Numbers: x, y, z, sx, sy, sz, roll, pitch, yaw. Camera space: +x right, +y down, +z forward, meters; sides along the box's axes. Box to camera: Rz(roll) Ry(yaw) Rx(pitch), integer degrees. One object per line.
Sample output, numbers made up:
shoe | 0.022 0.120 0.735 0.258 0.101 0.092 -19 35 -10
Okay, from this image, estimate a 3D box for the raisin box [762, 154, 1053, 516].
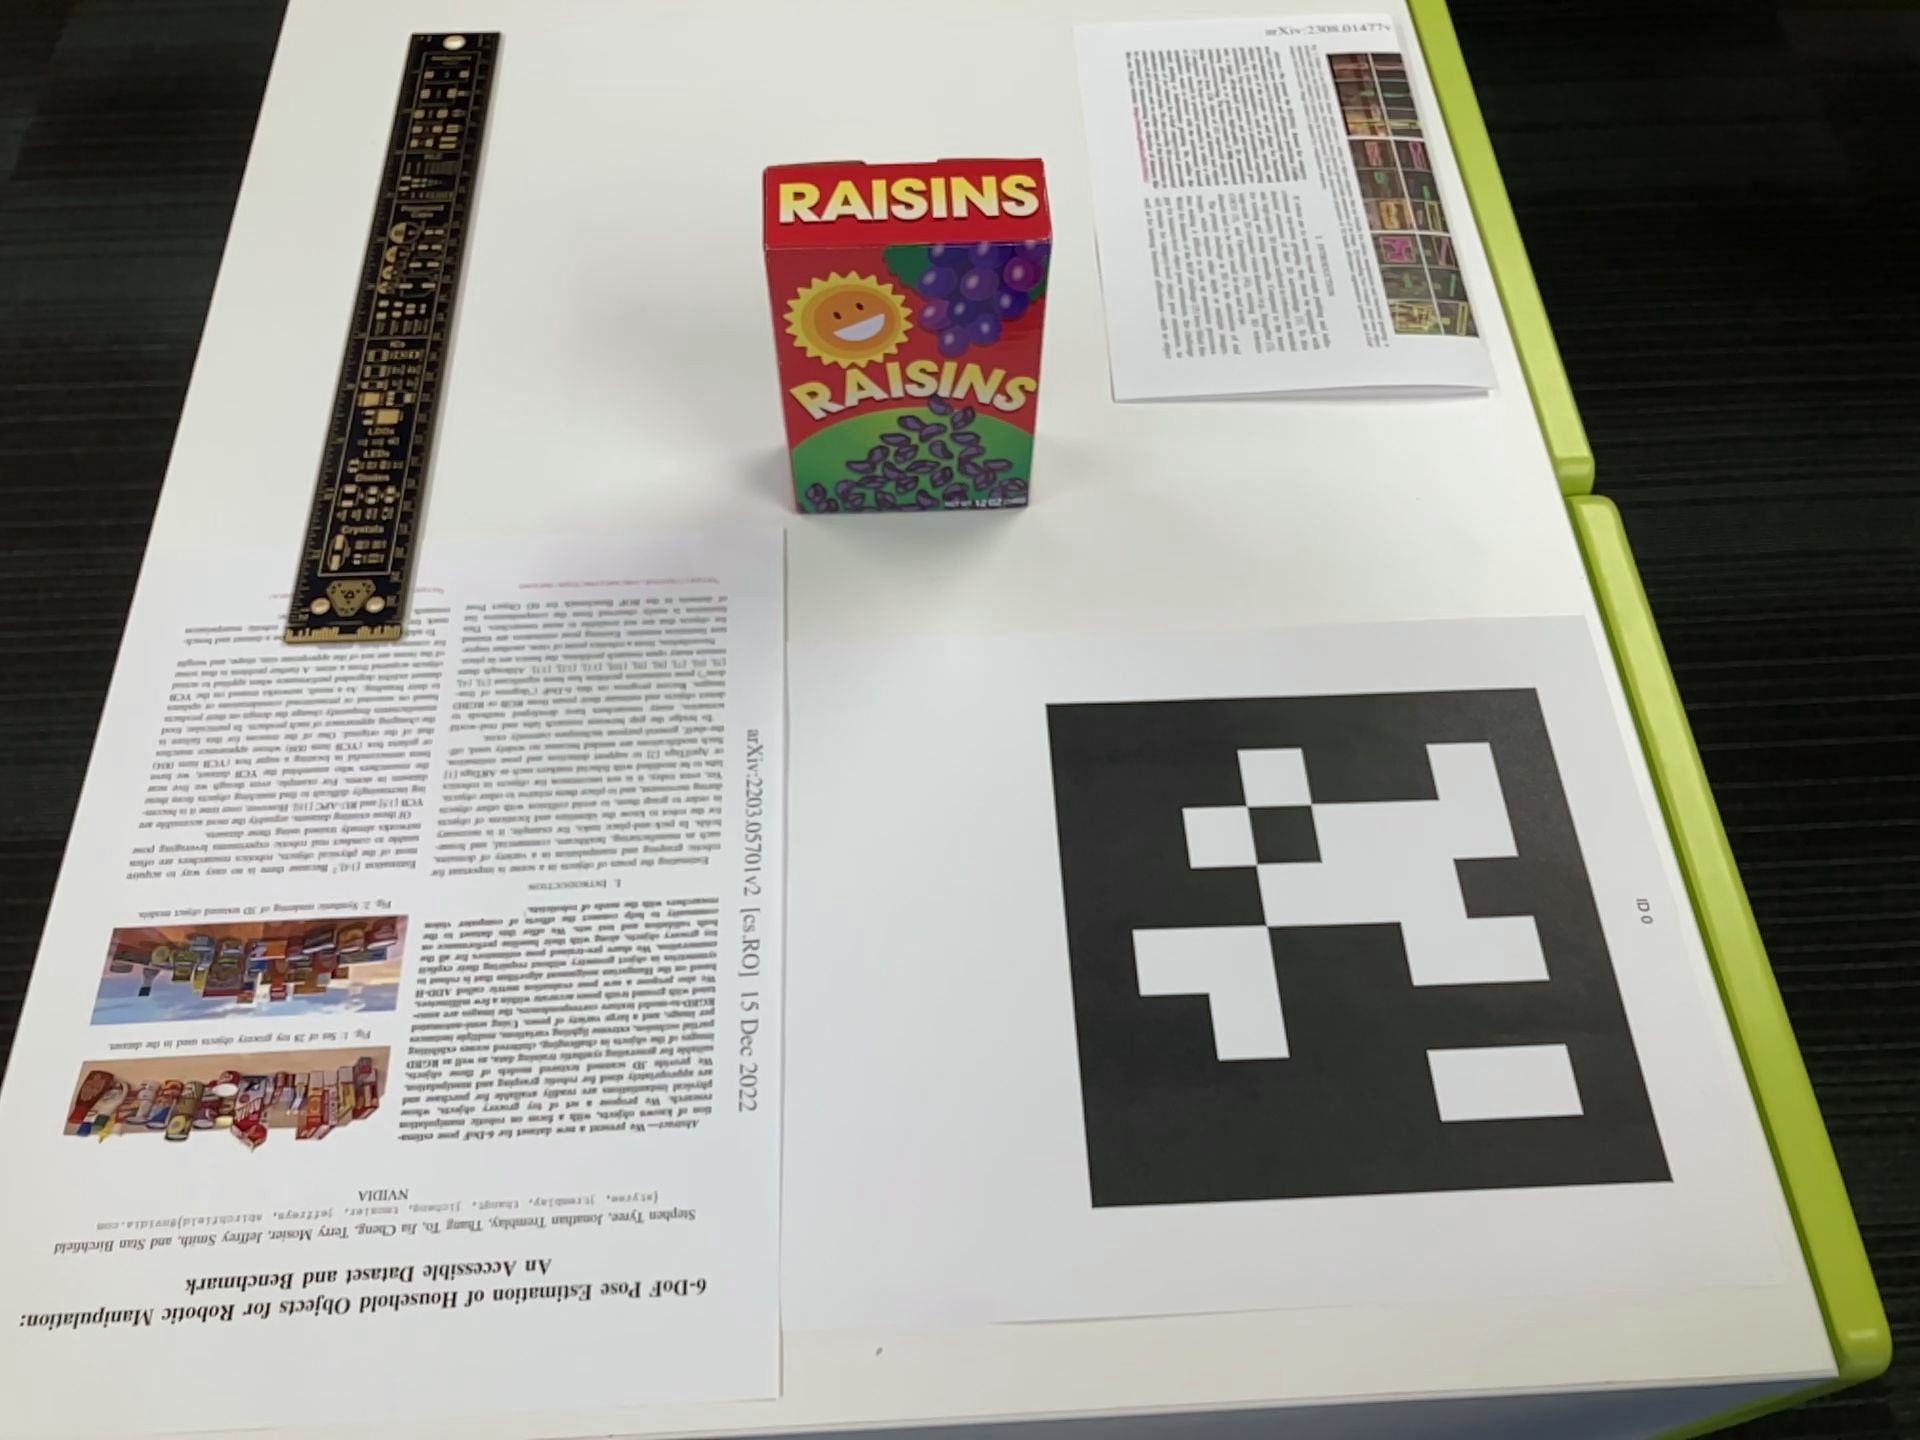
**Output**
raisin box | -0.016 -0.121 0.515 0.086 0.123 0.040 -2 59 -2
